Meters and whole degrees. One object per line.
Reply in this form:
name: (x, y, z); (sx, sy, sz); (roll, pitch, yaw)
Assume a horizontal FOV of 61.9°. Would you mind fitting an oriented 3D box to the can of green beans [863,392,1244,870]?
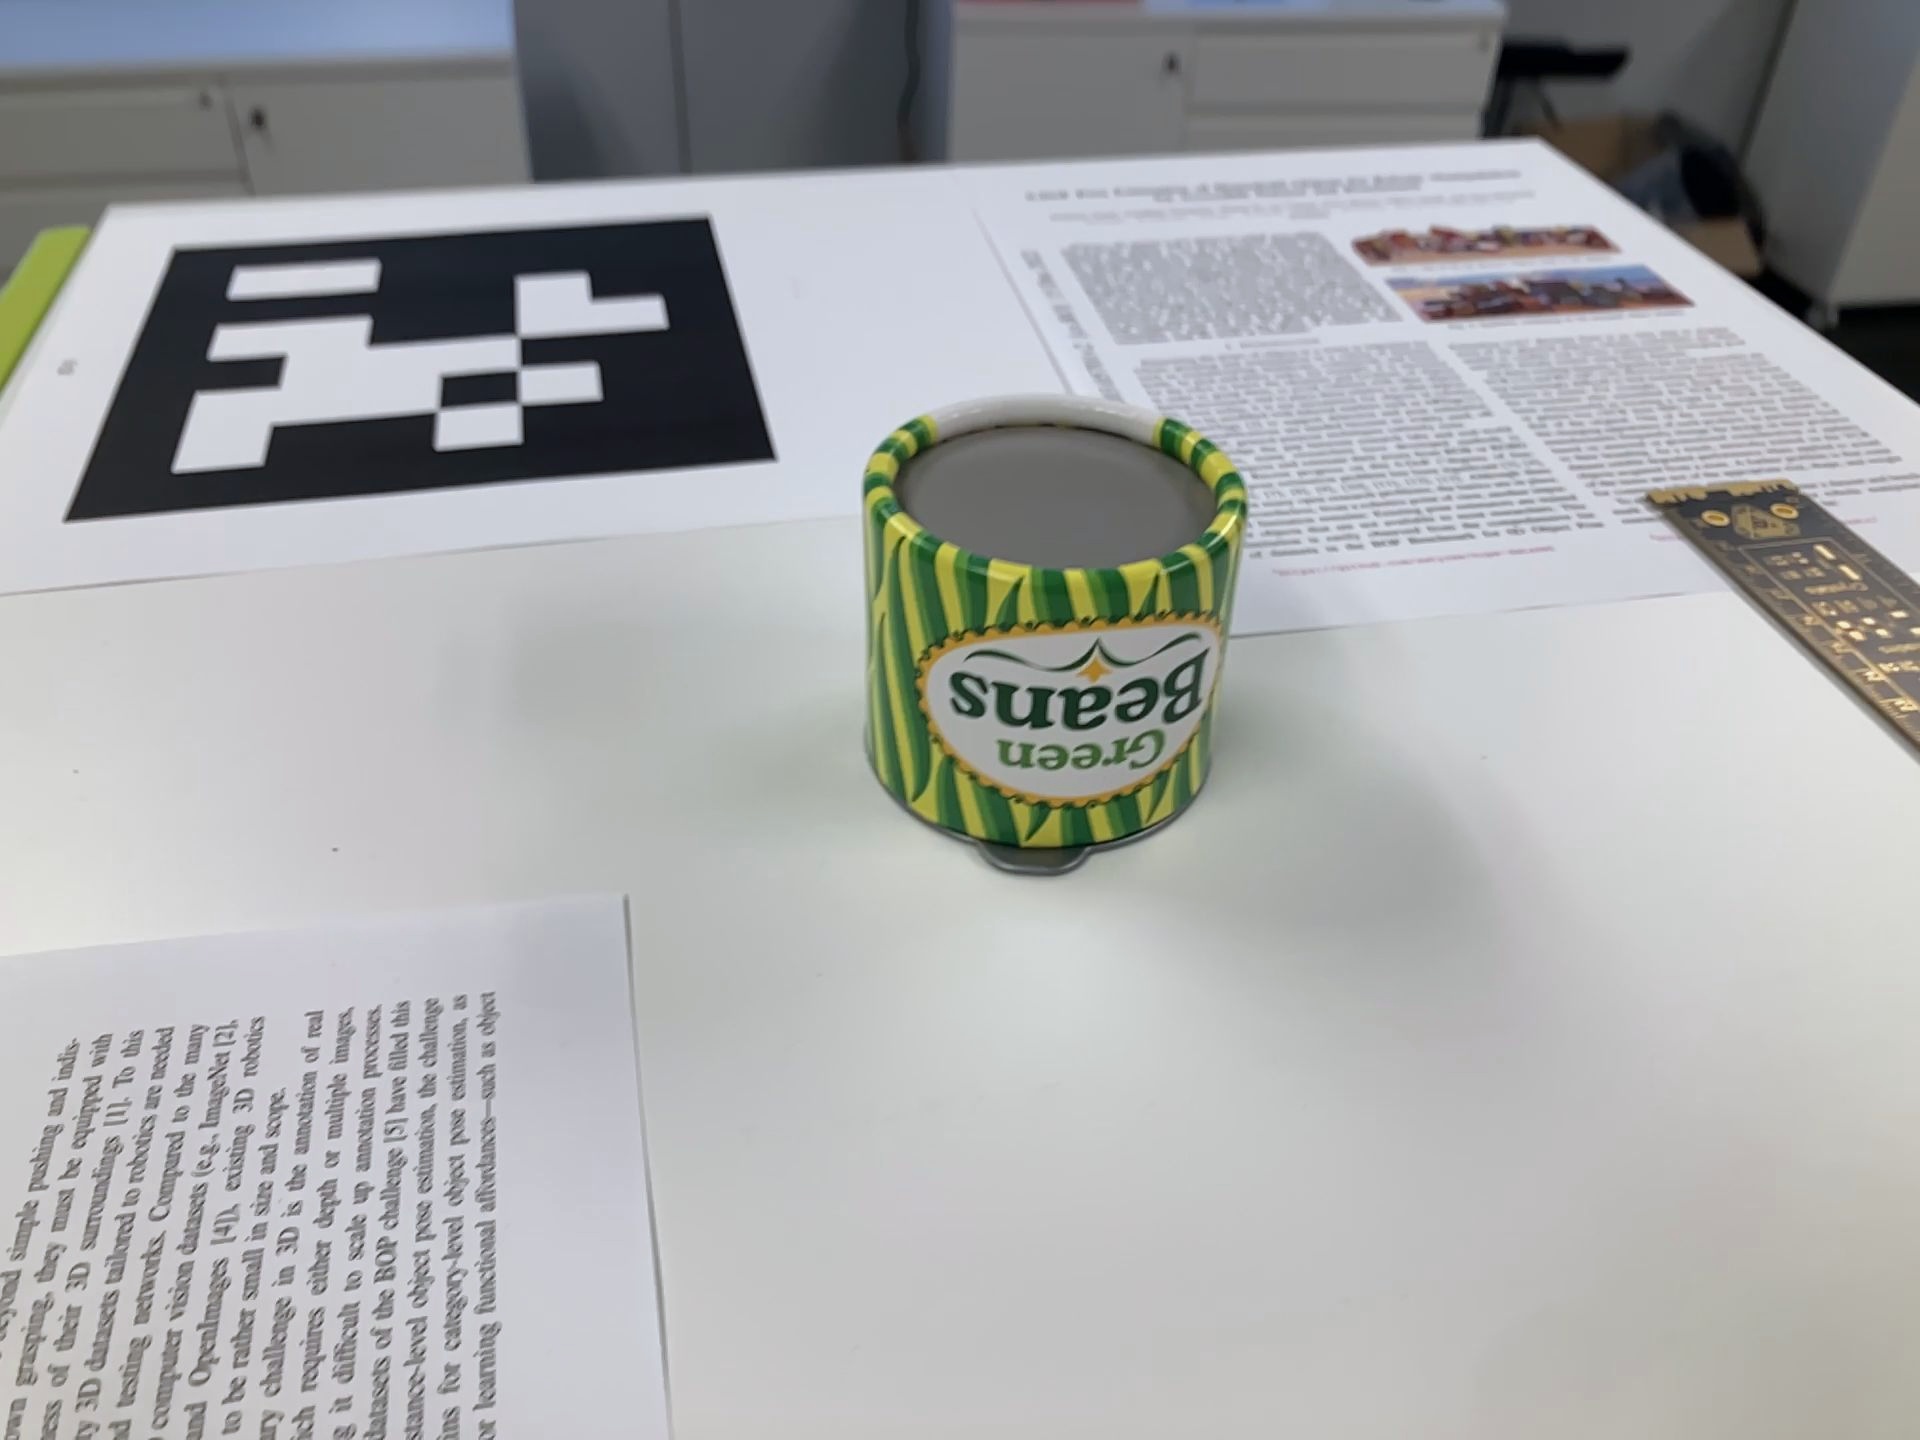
can of green beans: (0.015, -0.020, 0.292); (0.071, 0.058, 0.071); (1, 38, -1)
